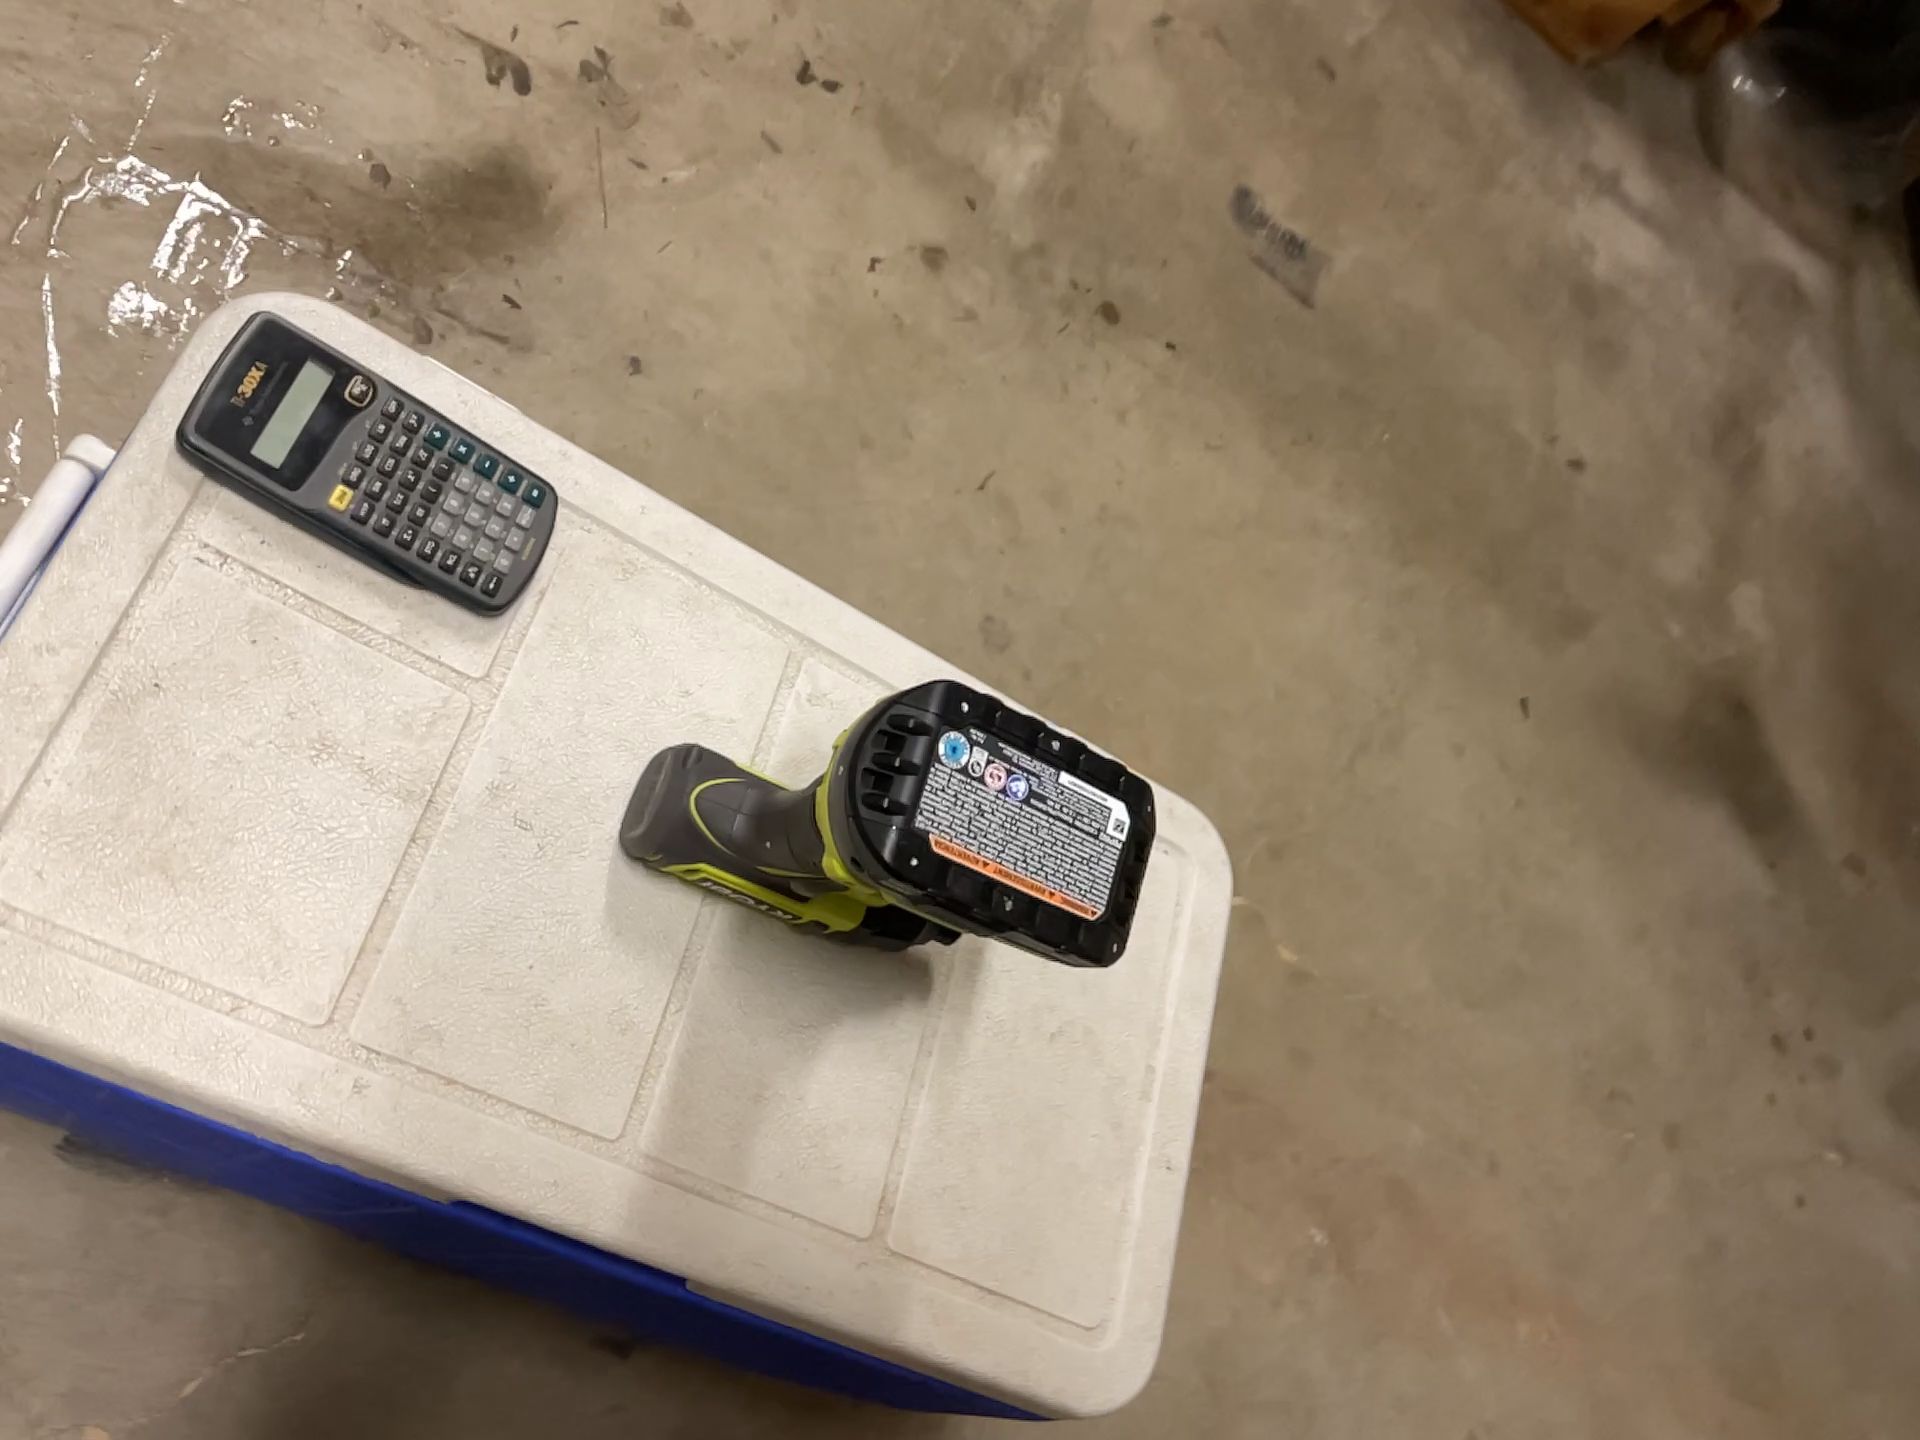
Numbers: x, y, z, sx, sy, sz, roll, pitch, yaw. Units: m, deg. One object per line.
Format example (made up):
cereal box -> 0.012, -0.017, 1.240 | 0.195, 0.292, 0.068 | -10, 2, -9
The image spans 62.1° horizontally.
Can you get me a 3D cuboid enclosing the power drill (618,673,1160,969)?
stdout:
power drill -> -0.026, 0.054, 0.667 | 0.171, 0.223, 0.080 | 27, 69, -25
